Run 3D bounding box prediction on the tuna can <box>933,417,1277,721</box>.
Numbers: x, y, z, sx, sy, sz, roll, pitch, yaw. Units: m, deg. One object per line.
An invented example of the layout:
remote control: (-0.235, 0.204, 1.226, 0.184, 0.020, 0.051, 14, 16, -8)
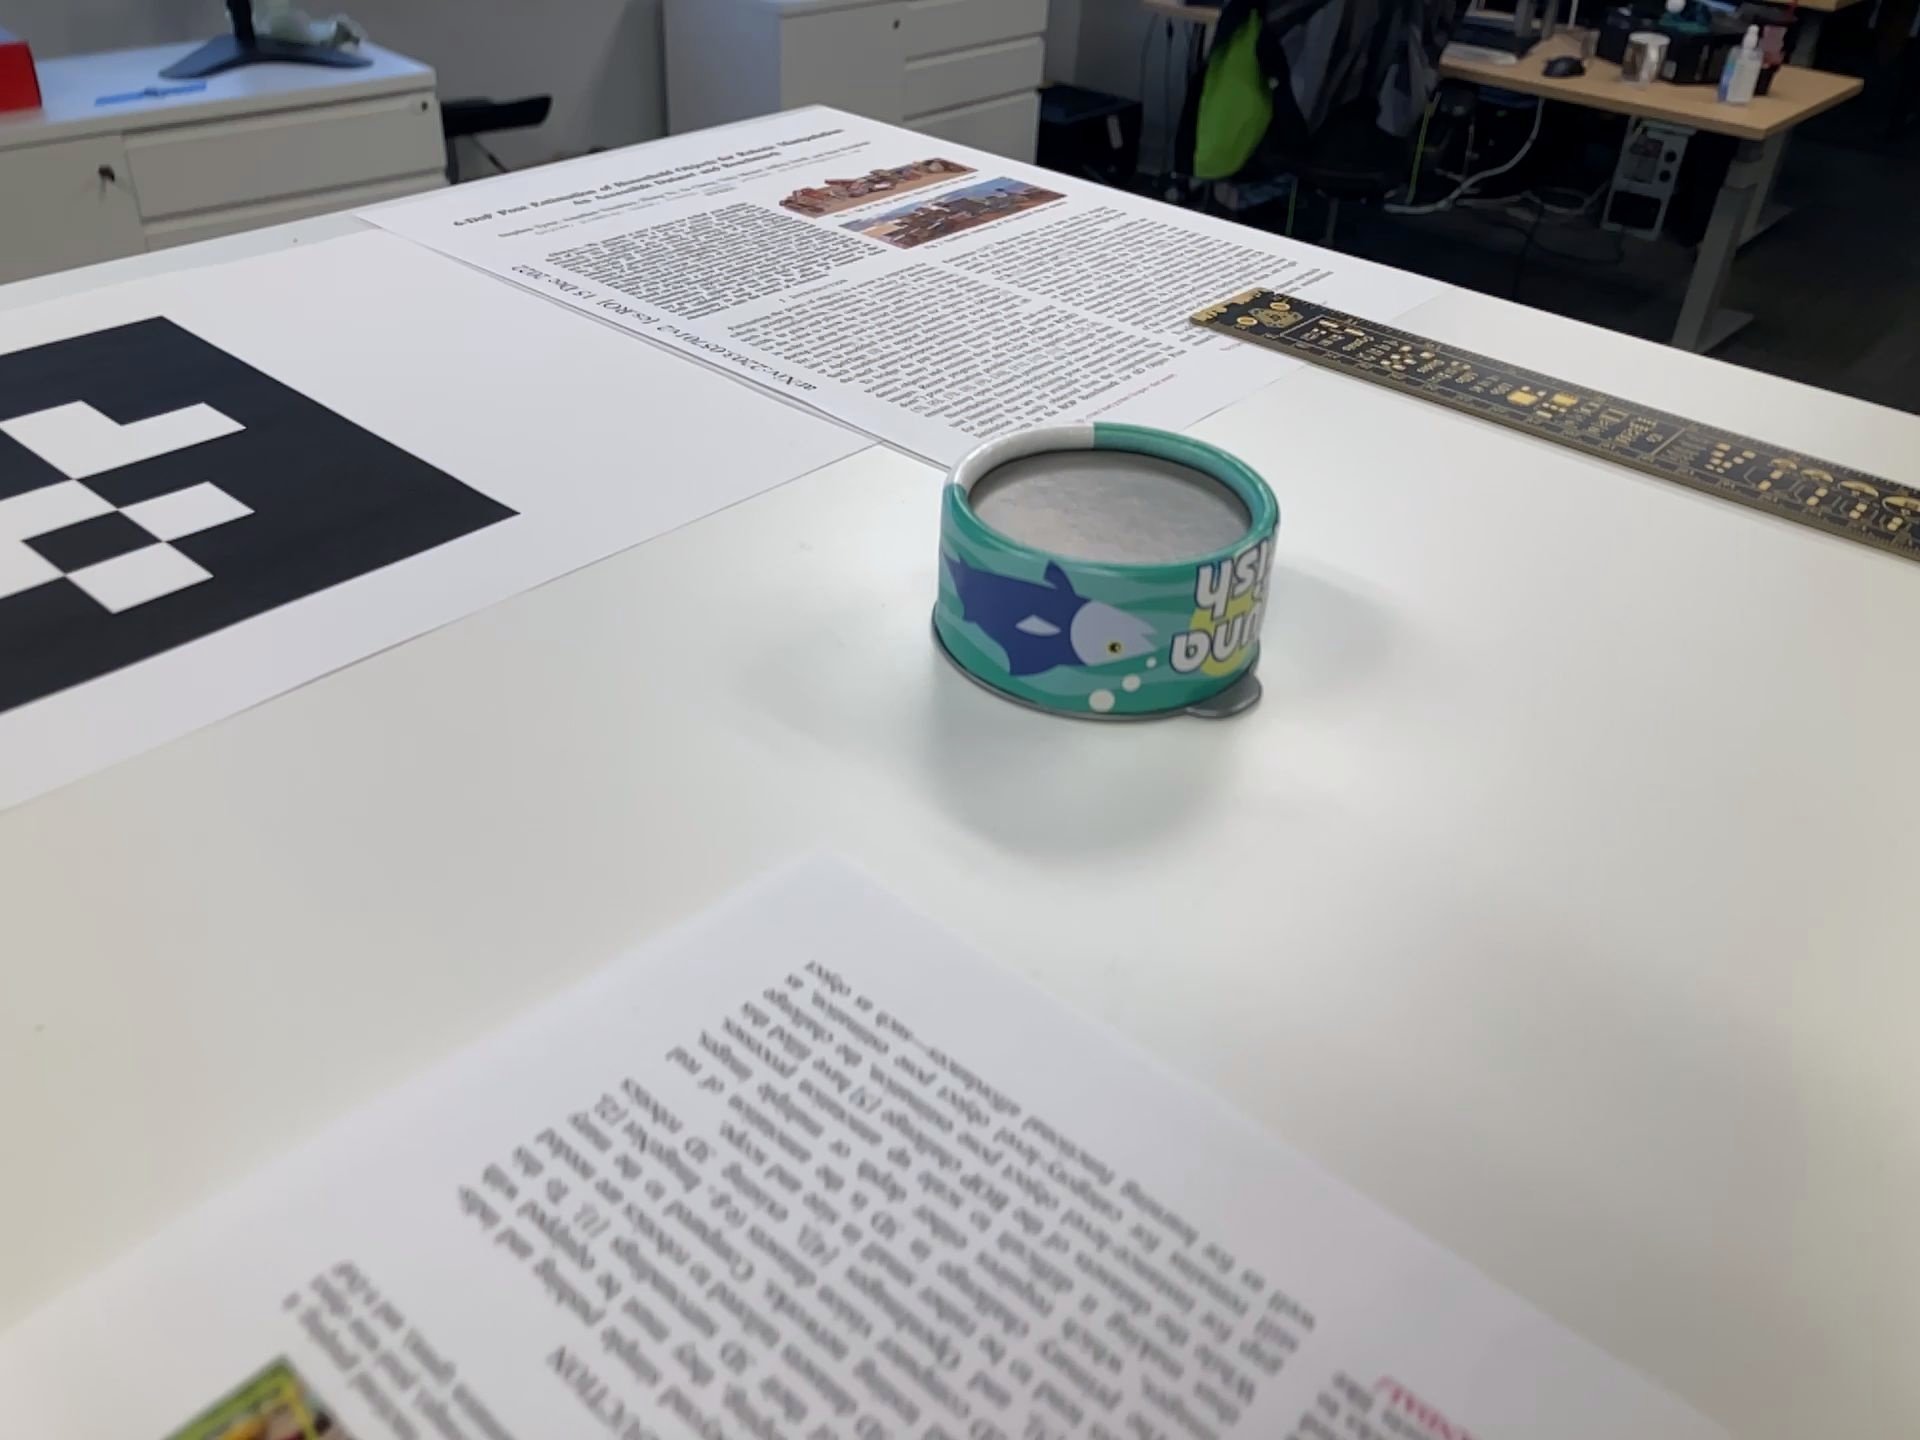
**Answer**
tuna can: (0.030, -0.031, 0.314, 0.071, 0.033, 0.071, 2, 36, -1)
